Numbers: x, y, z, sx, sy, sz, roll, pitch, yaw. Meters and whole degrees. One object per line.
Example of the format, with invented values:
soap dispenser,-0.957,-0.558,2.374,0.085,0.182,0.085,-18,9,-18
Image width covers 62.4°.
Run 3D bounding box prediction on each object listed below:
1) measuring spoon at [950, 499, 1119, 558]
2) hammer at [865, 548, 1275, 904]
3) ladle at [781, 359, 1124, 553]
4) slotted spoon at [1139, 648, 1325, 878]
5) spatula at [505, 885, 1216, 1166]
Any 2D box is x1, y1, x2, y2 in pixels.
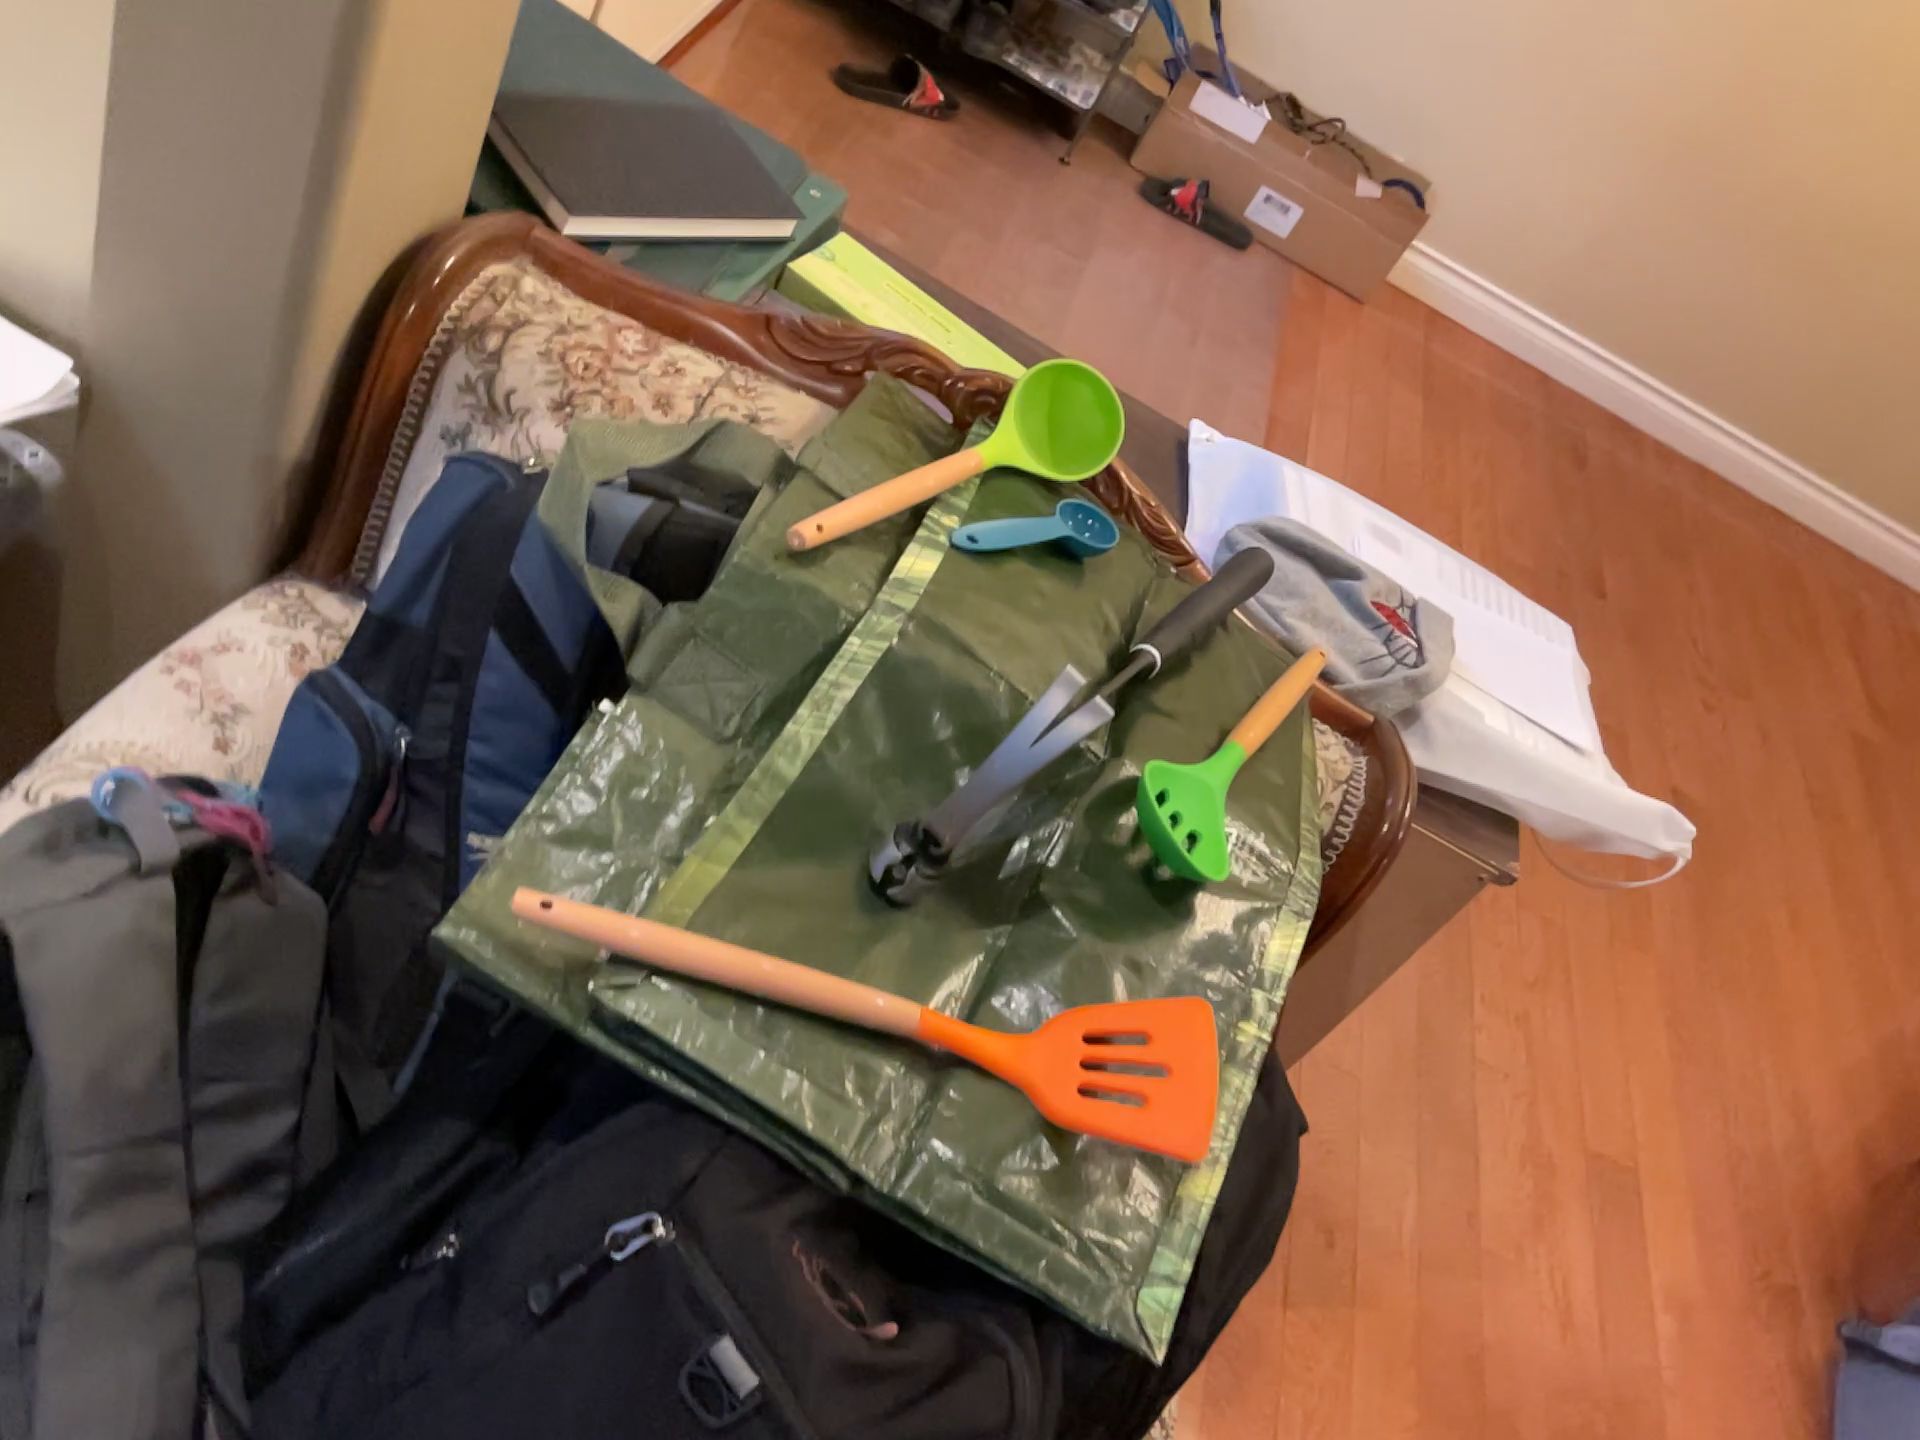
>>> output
measuring spoon,0.040,-0.104,0.918,0.128,0.021,0.042,-12,56,-40
hammer,0.098,-0.030,0.884,0.036,0.149,0.409,49,36,4
ladle,0.003,-0.146,0.905,0.320,0.062,0.078,-35,99,-54
slotted spoon,0.165,0.012,0.907,0.070,0.031,0.313,53,33,0
spatula,-0.040,0.123,0.702,0.322,0.041,0.081,19,51,-11
